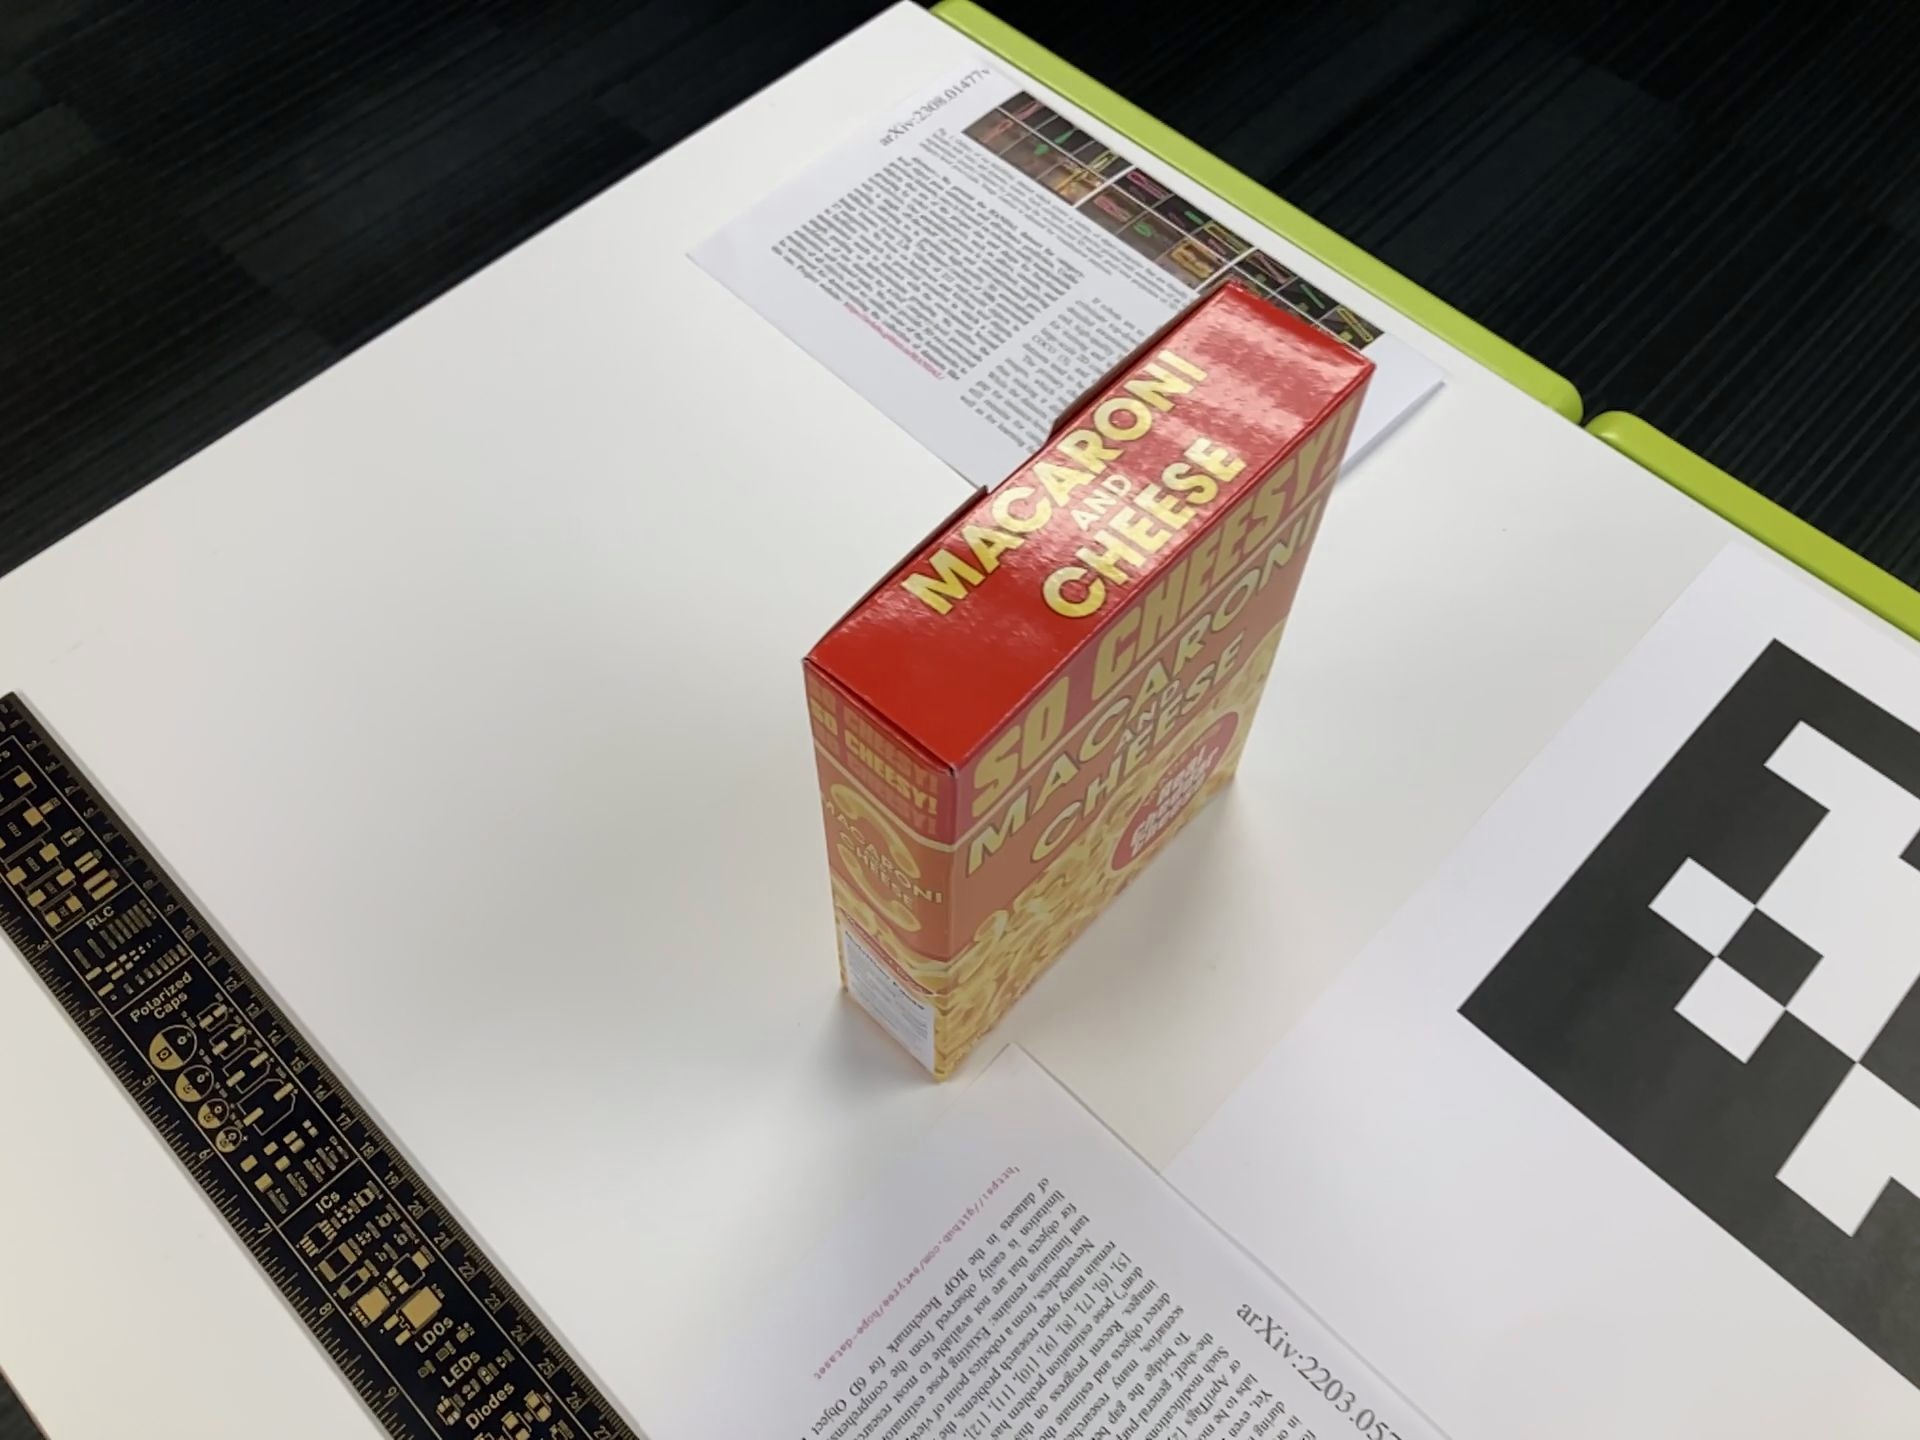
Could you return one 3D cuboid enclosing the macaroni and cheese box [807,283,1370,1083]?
[{"bbox_3d":[0.024,0.001,0.360,0.040,0.166,0.124,37,66,19],"label":"macaroni and cheese box"}]
